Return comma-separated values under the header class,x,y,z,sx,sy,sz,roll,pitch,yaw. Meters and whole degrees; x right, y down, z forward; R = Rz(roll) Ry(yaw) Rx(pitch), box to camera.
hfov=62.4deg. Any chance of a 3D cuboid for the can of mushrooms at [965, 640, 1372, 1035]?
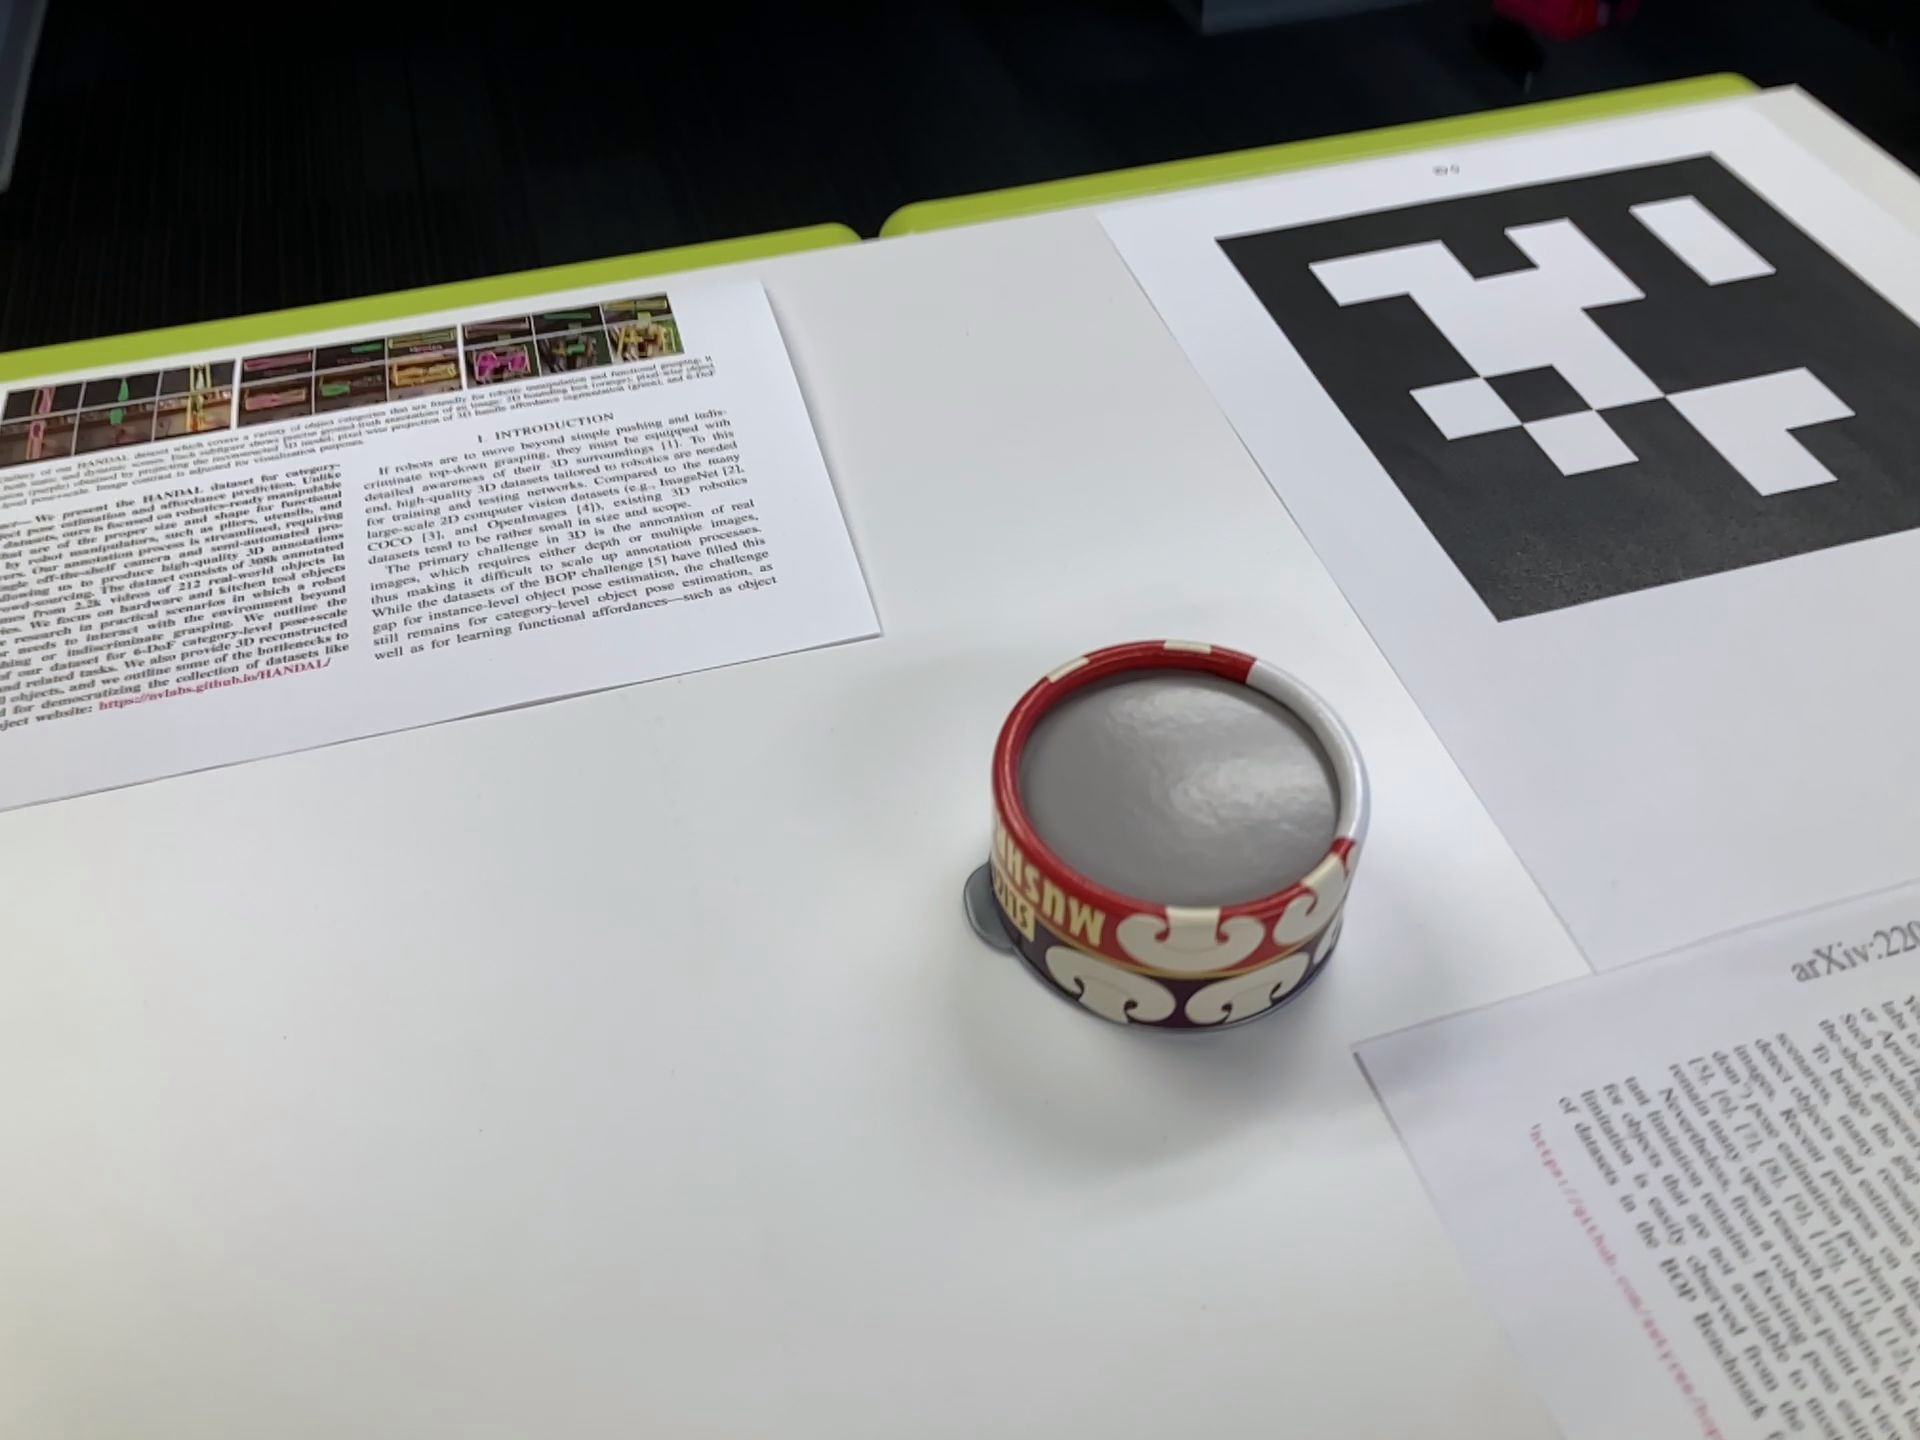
class,x,y,z,sx,sy,sz,roll,pitch,yaw
can of mushrooms,0.036,0.020,0.283,0.071,0.033,0.071,-1,49,1
